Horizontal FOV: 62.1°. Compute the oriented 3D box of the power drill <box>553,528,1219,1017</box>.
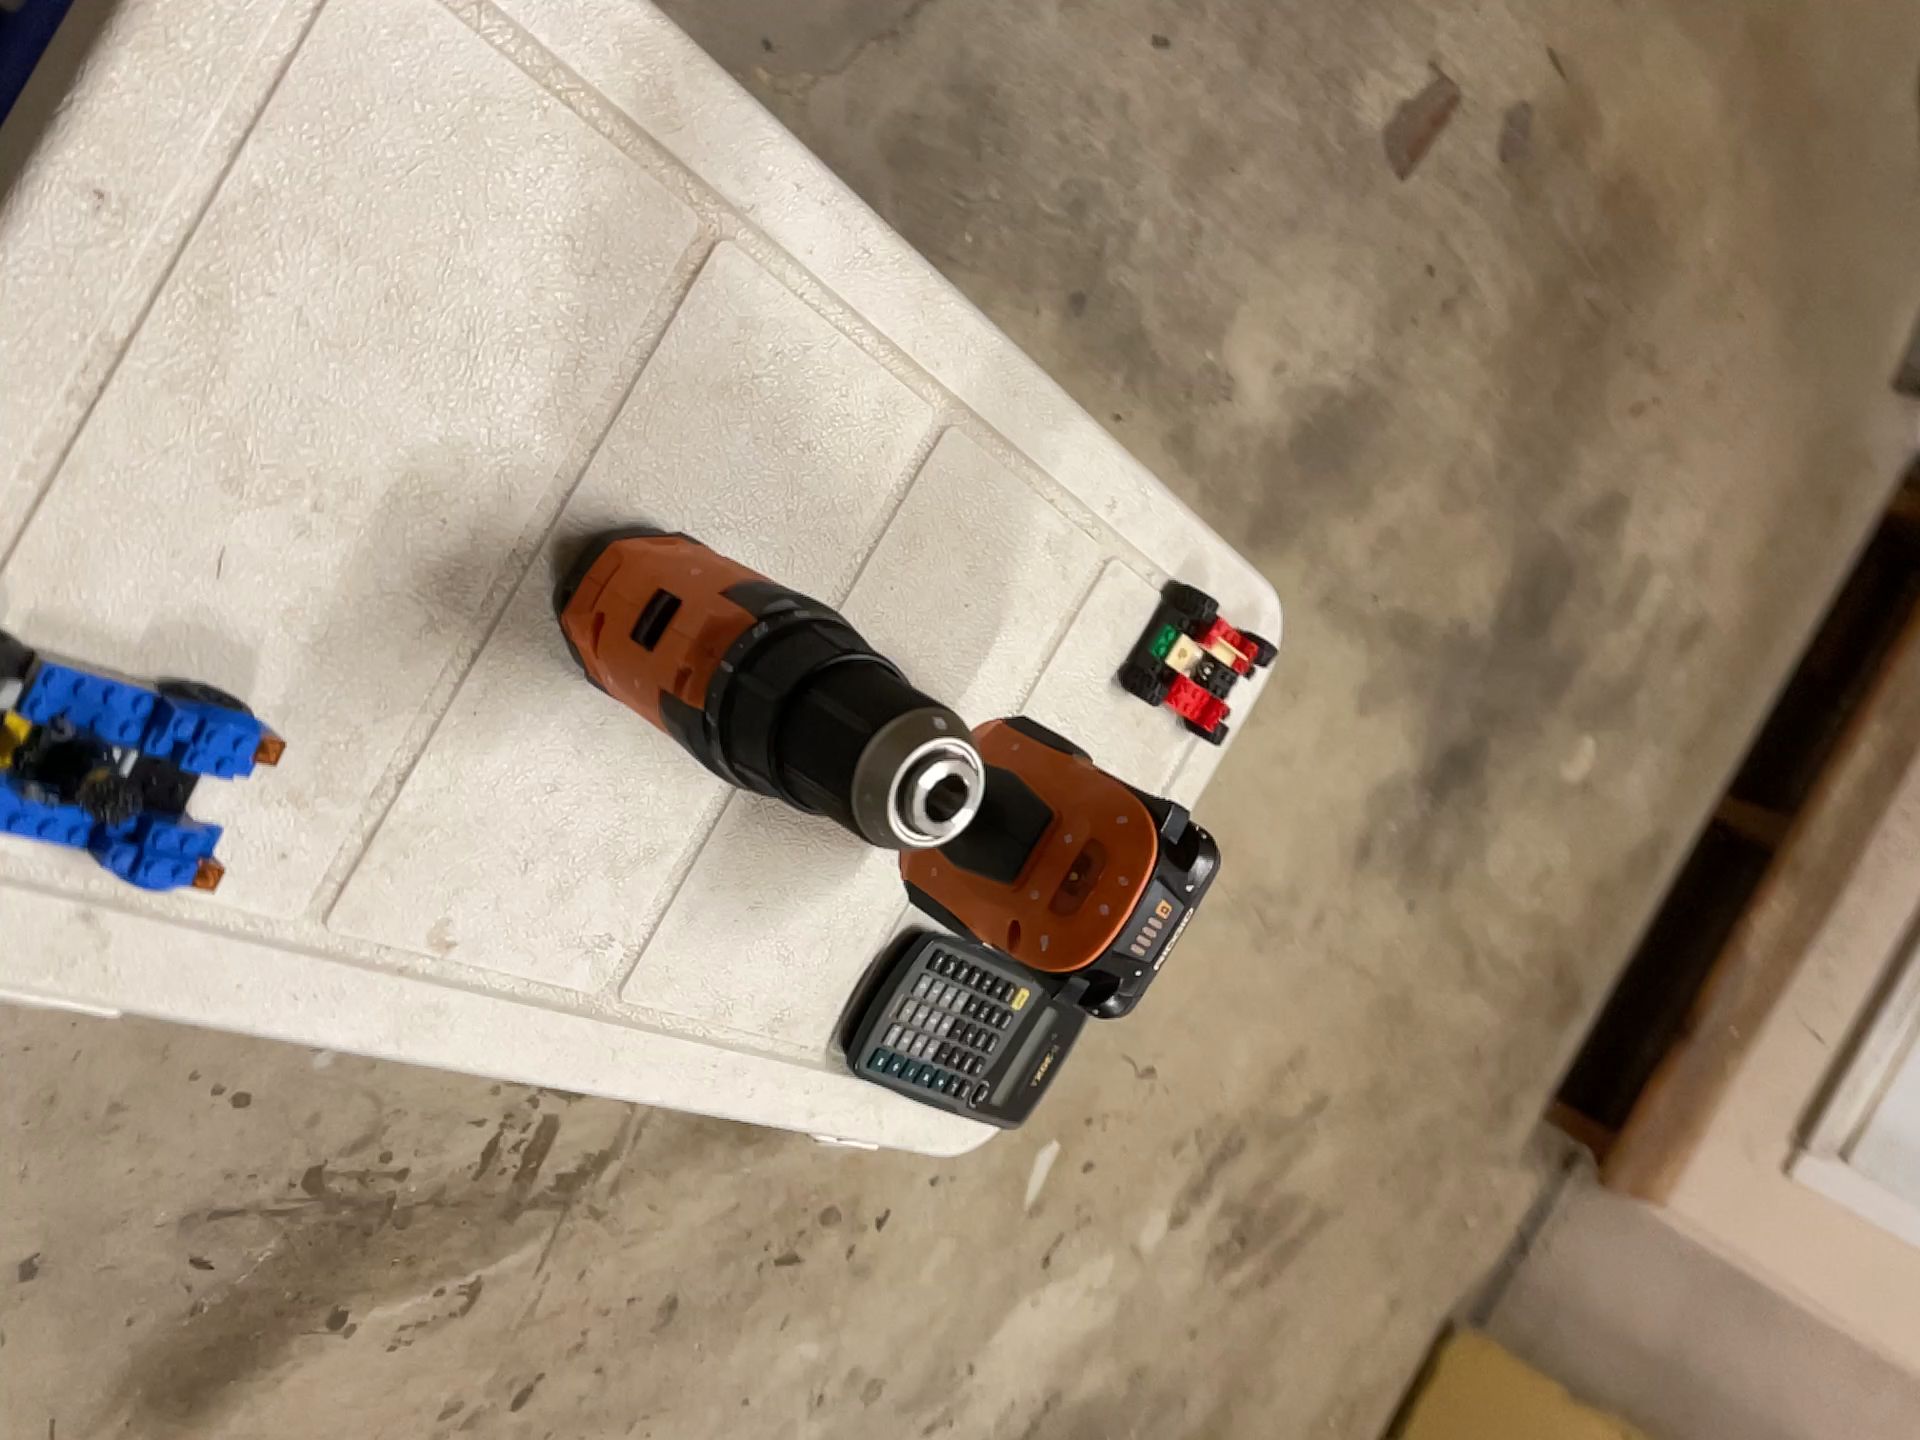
[{"bbox_3d":[-0.007,0.024,0.525,0.226,0.185,0.084,34,86,-41],"label":"power drill"}]
